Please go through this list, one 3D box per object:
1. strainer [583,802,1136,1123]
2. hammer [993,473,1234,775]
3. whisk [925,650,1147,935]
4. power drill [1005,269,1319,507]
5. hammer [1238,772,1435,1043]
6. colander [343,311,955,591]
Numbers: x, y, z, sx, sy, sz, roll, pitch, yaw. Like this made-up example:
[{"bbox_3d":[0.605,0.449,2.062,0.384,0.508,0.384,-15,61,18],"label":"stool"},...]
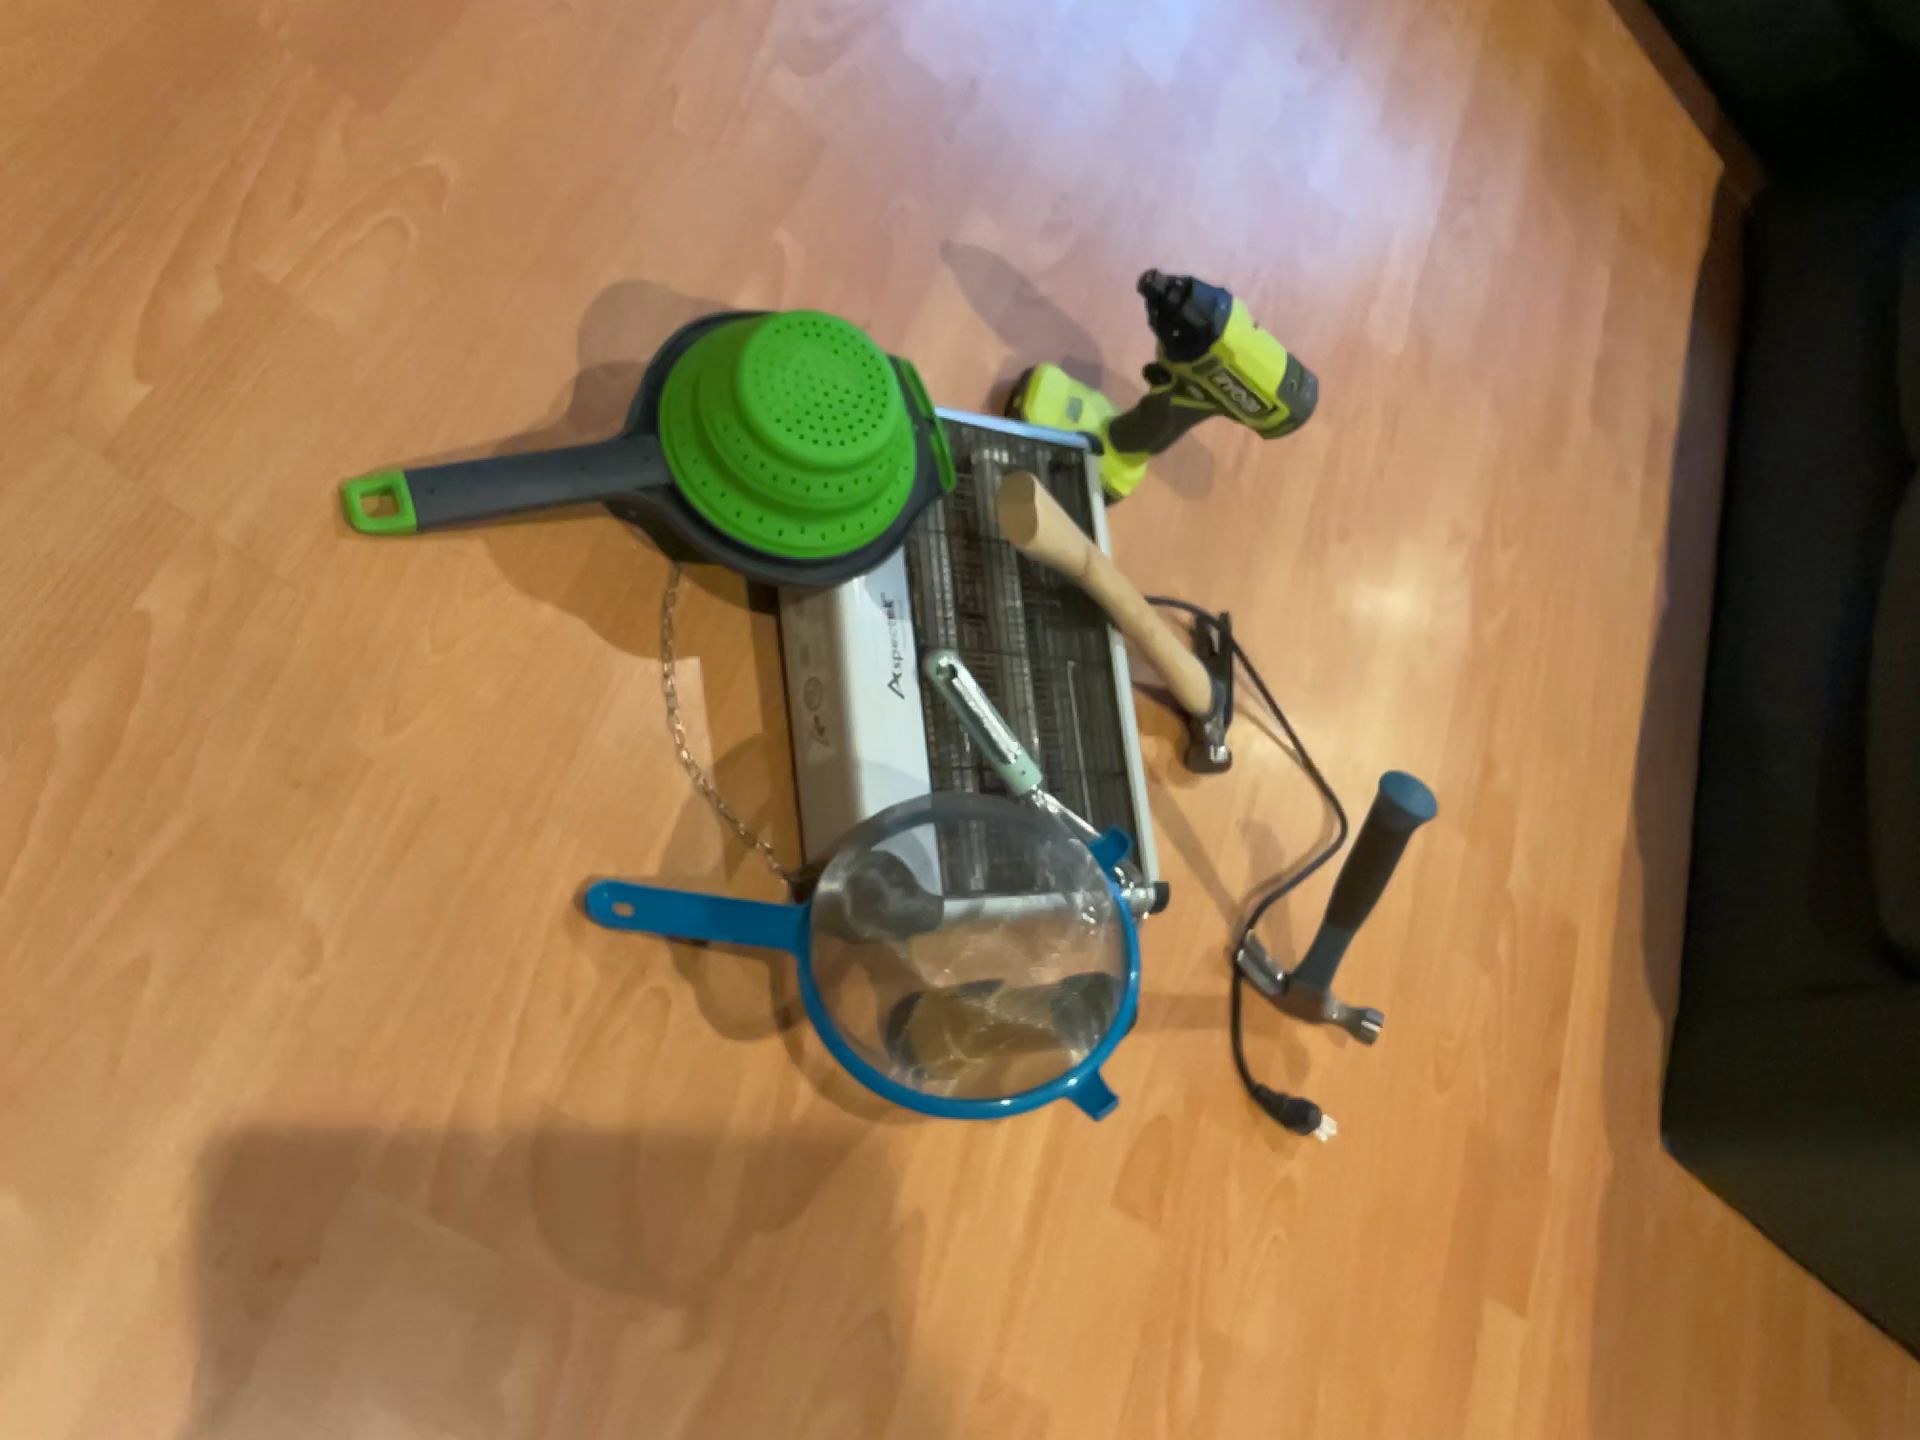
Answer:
[{"bbox_3d":[-0.057,0.113,0.952,0.340,0.095,0.211,8,55,-1],"label":"strainer"},{"bbox_3d":[0.130,-0.089,1.228,0.410,0.038,0.146,37,53,-55],"label":"hammer"},{"bbox_3d":[0.052,0.054,1.106,0.058,0.059,0.246,-37,99,-11],"label":"whisk"},{"bbox_3d":[0.146,-0.261,1.272,0.171,0.223,0.080,34,57,-27],"label":"power drill"},{"bbox_3d":[0.300,0.146,1.236,0.128,0.330,0.033,21,55,11],"label":"hammer"},{"bbox_3d":[-0.175,-0.177,1.003,0.397,0.094,0.204,-13,78,-25],"label":"colander"}]
